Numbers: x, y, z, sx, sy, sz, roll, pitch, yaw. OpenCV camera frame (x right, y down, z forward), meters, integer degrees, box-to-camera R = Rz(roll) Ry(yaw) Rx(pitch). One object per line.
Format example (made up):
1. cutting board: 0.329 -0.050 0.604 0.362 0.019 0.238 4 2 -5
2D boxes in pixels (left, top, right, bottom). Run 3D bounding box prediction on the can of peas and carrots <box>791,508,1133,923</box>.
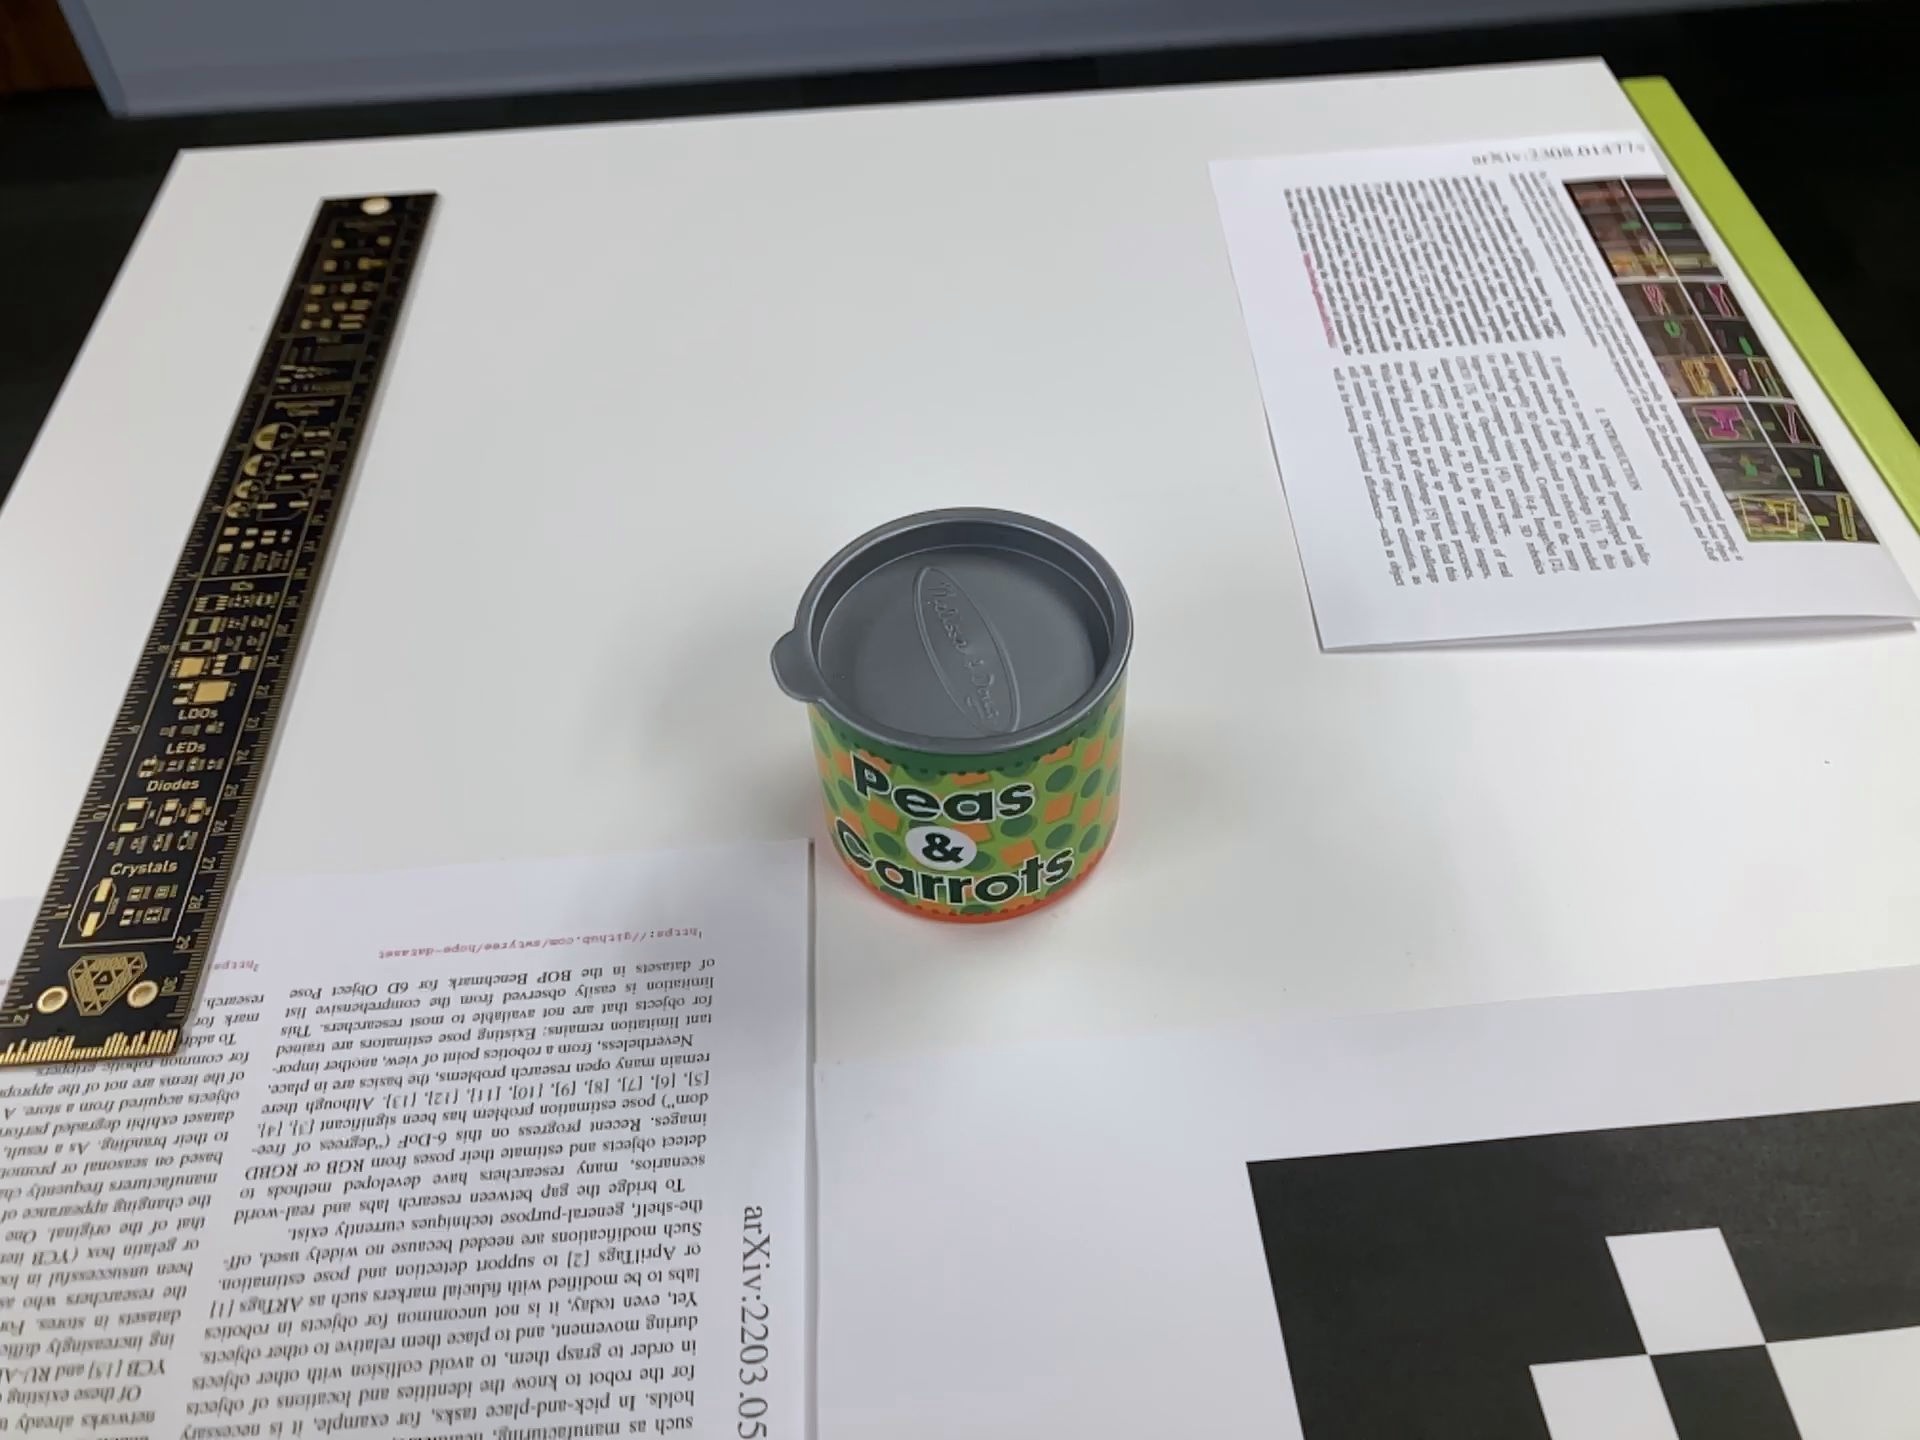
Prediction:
1. can of peas and carrots: 0.001 0.001 0.327 0.071 0.059 0.071 -1 49 2
